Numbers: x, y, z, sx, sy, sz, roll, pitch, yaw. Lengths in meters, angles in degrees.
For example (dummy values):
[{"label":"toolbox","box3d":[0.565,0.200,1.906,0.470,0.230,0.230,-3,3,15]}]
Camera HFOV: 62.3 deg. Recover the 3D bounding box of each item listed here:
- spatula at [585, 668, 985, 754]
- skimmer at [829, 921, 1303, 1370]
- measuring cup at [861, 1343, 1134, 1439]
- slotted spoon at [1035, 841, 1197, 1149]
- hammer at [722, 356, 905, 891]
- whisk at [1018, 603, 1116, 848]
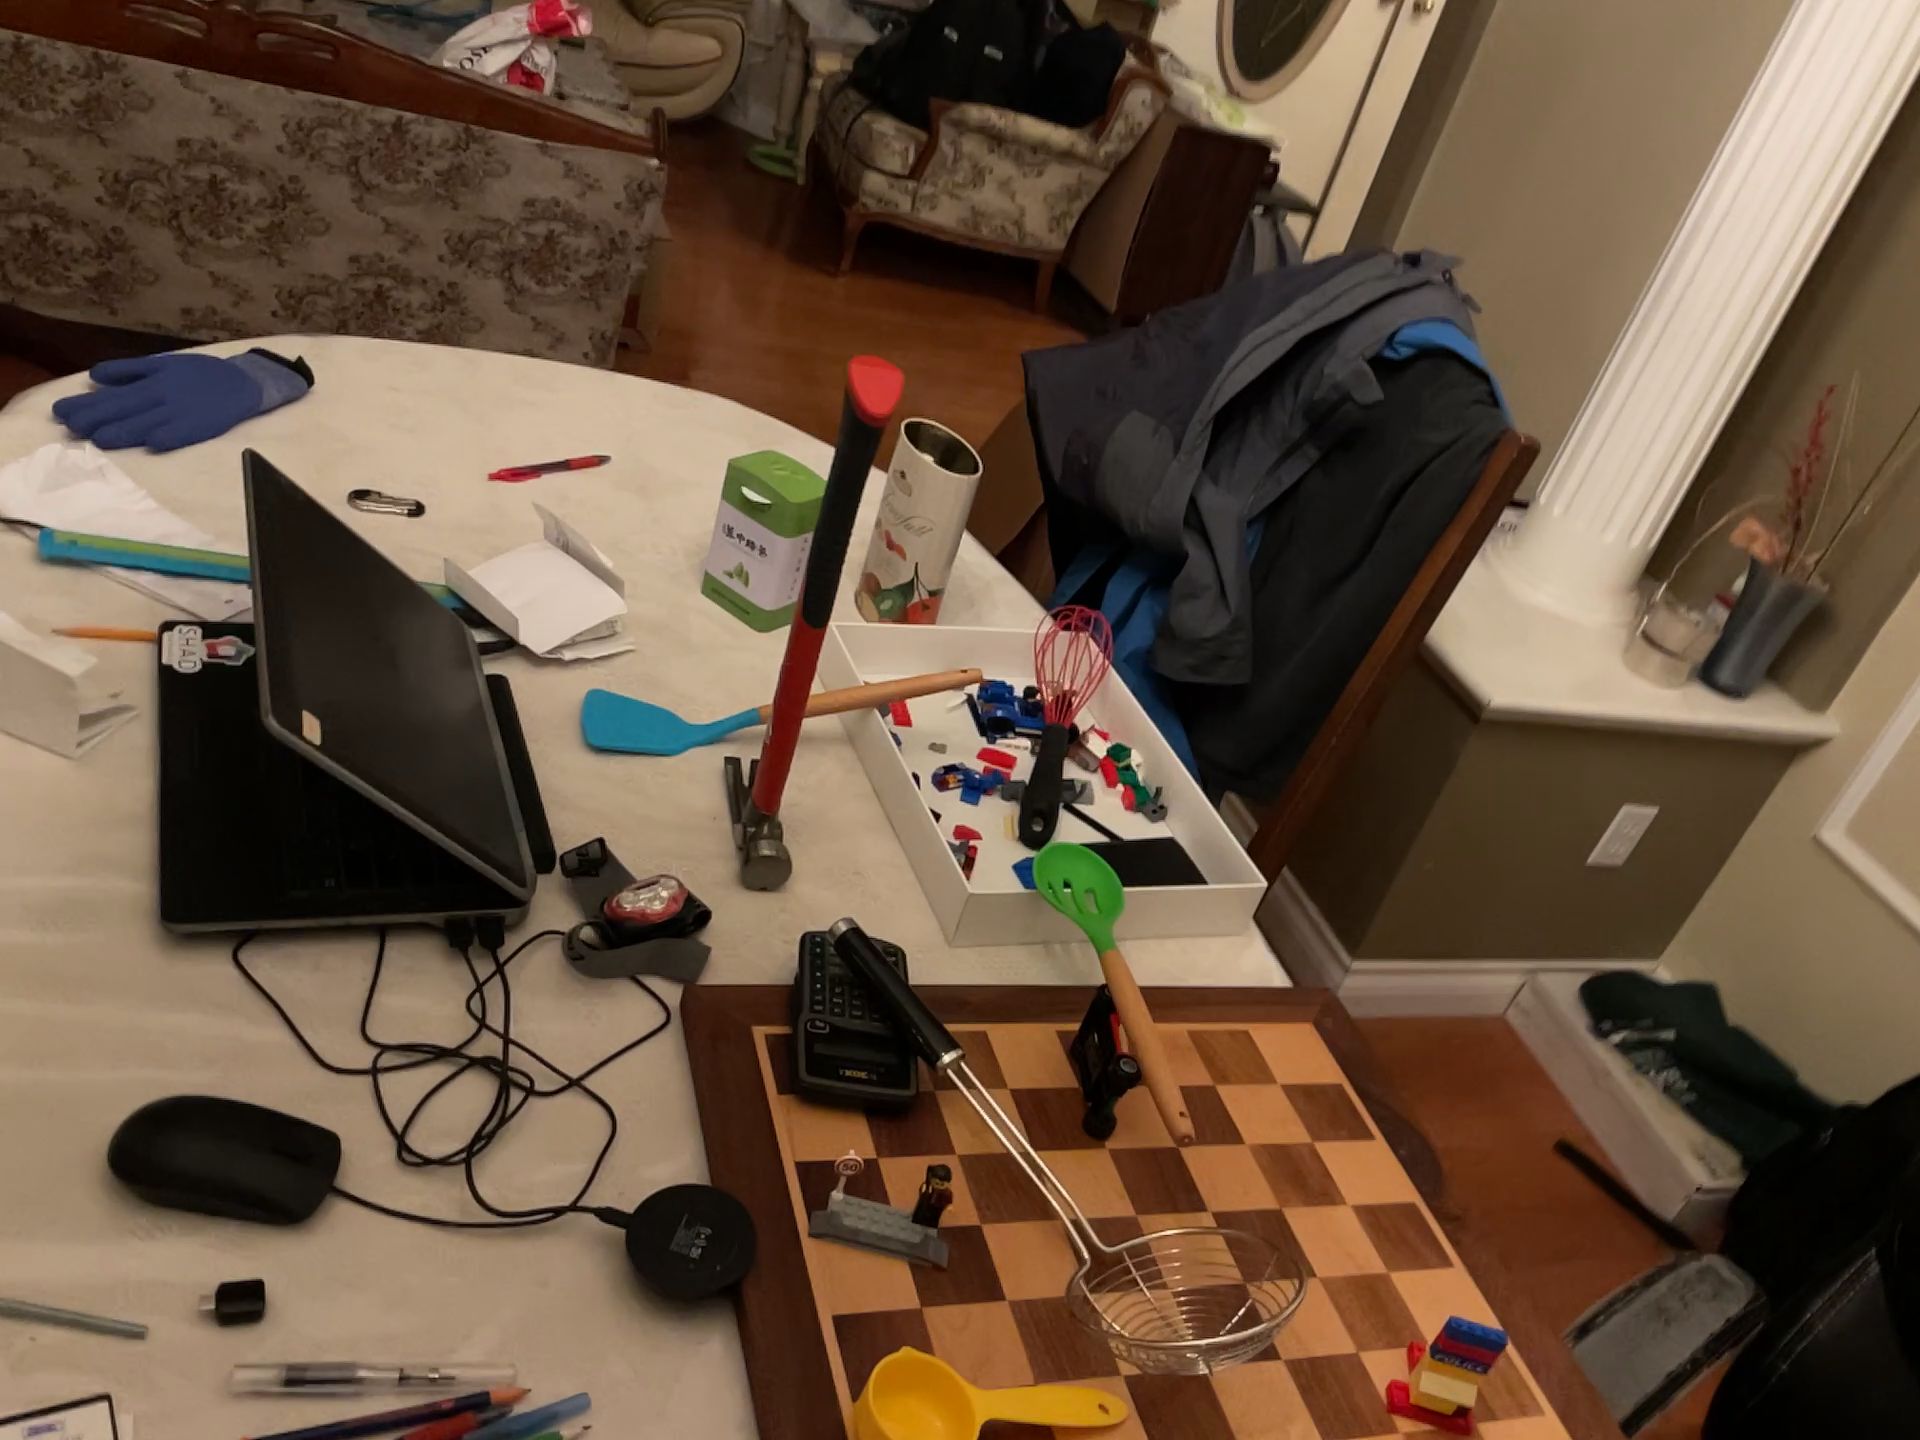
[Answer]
[{"label":"spatula","box3d":[-0.136,-0.016,1.269,0.317,0.044,0.082,-11,35,-6]},{"label":"skimmer","box3d":[0.041,0.227,0.931,0.127,0.090,0.364,-15,48,-39]},{"label":"measuring cup","box3d":[0.020,0.353,0.805,0.156,0.029,0.062,16,26,-29]},{"label":"slotted spoon","box3d":[0.102,0.169,1.028,0.070,0.031,0.314,12,23,-14]},{"label":"hammer","box3d":[-0.107,-0.072,1.097,0.038,0.386,0.143,5,34,-20]},{"label":"whisk","box3d":[0.086,-0.001,1.371,0.073,0.073,0.296,4,44,12]}]
